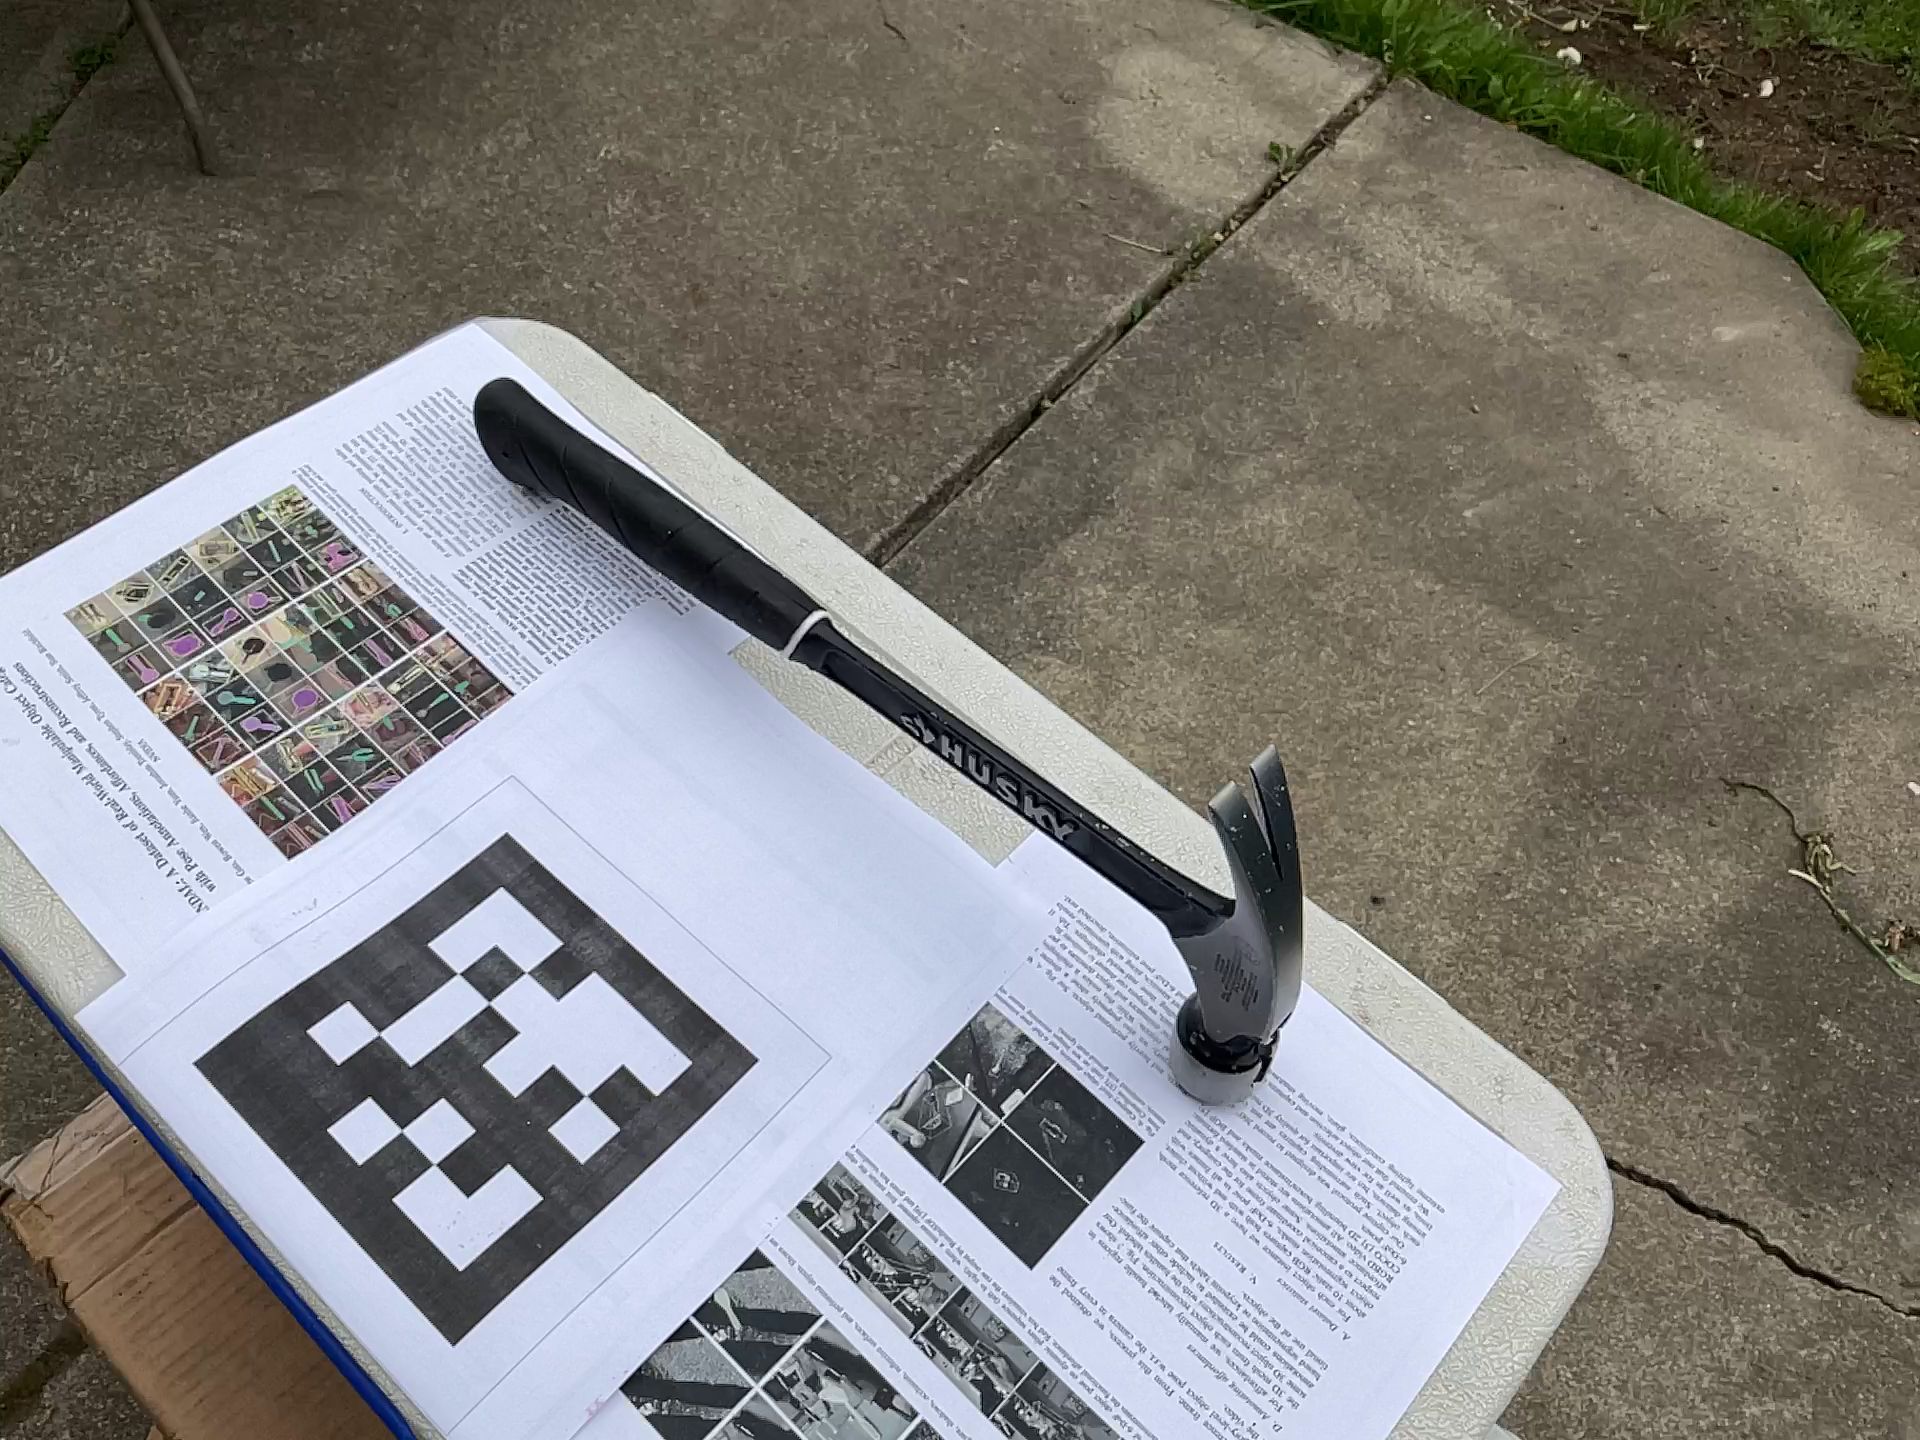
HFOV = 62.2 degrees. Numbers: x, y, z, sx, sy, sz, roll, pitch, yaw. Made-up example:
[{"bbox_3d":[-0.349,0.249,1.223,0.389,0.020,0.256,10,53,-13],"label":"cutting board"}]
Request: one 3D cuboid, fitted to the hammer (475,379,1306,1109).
[{"bbox_3d":[-0.045,-0.024,0.583,0.409,0.149,0.036,35,57,26],"label":"hammer"}]
